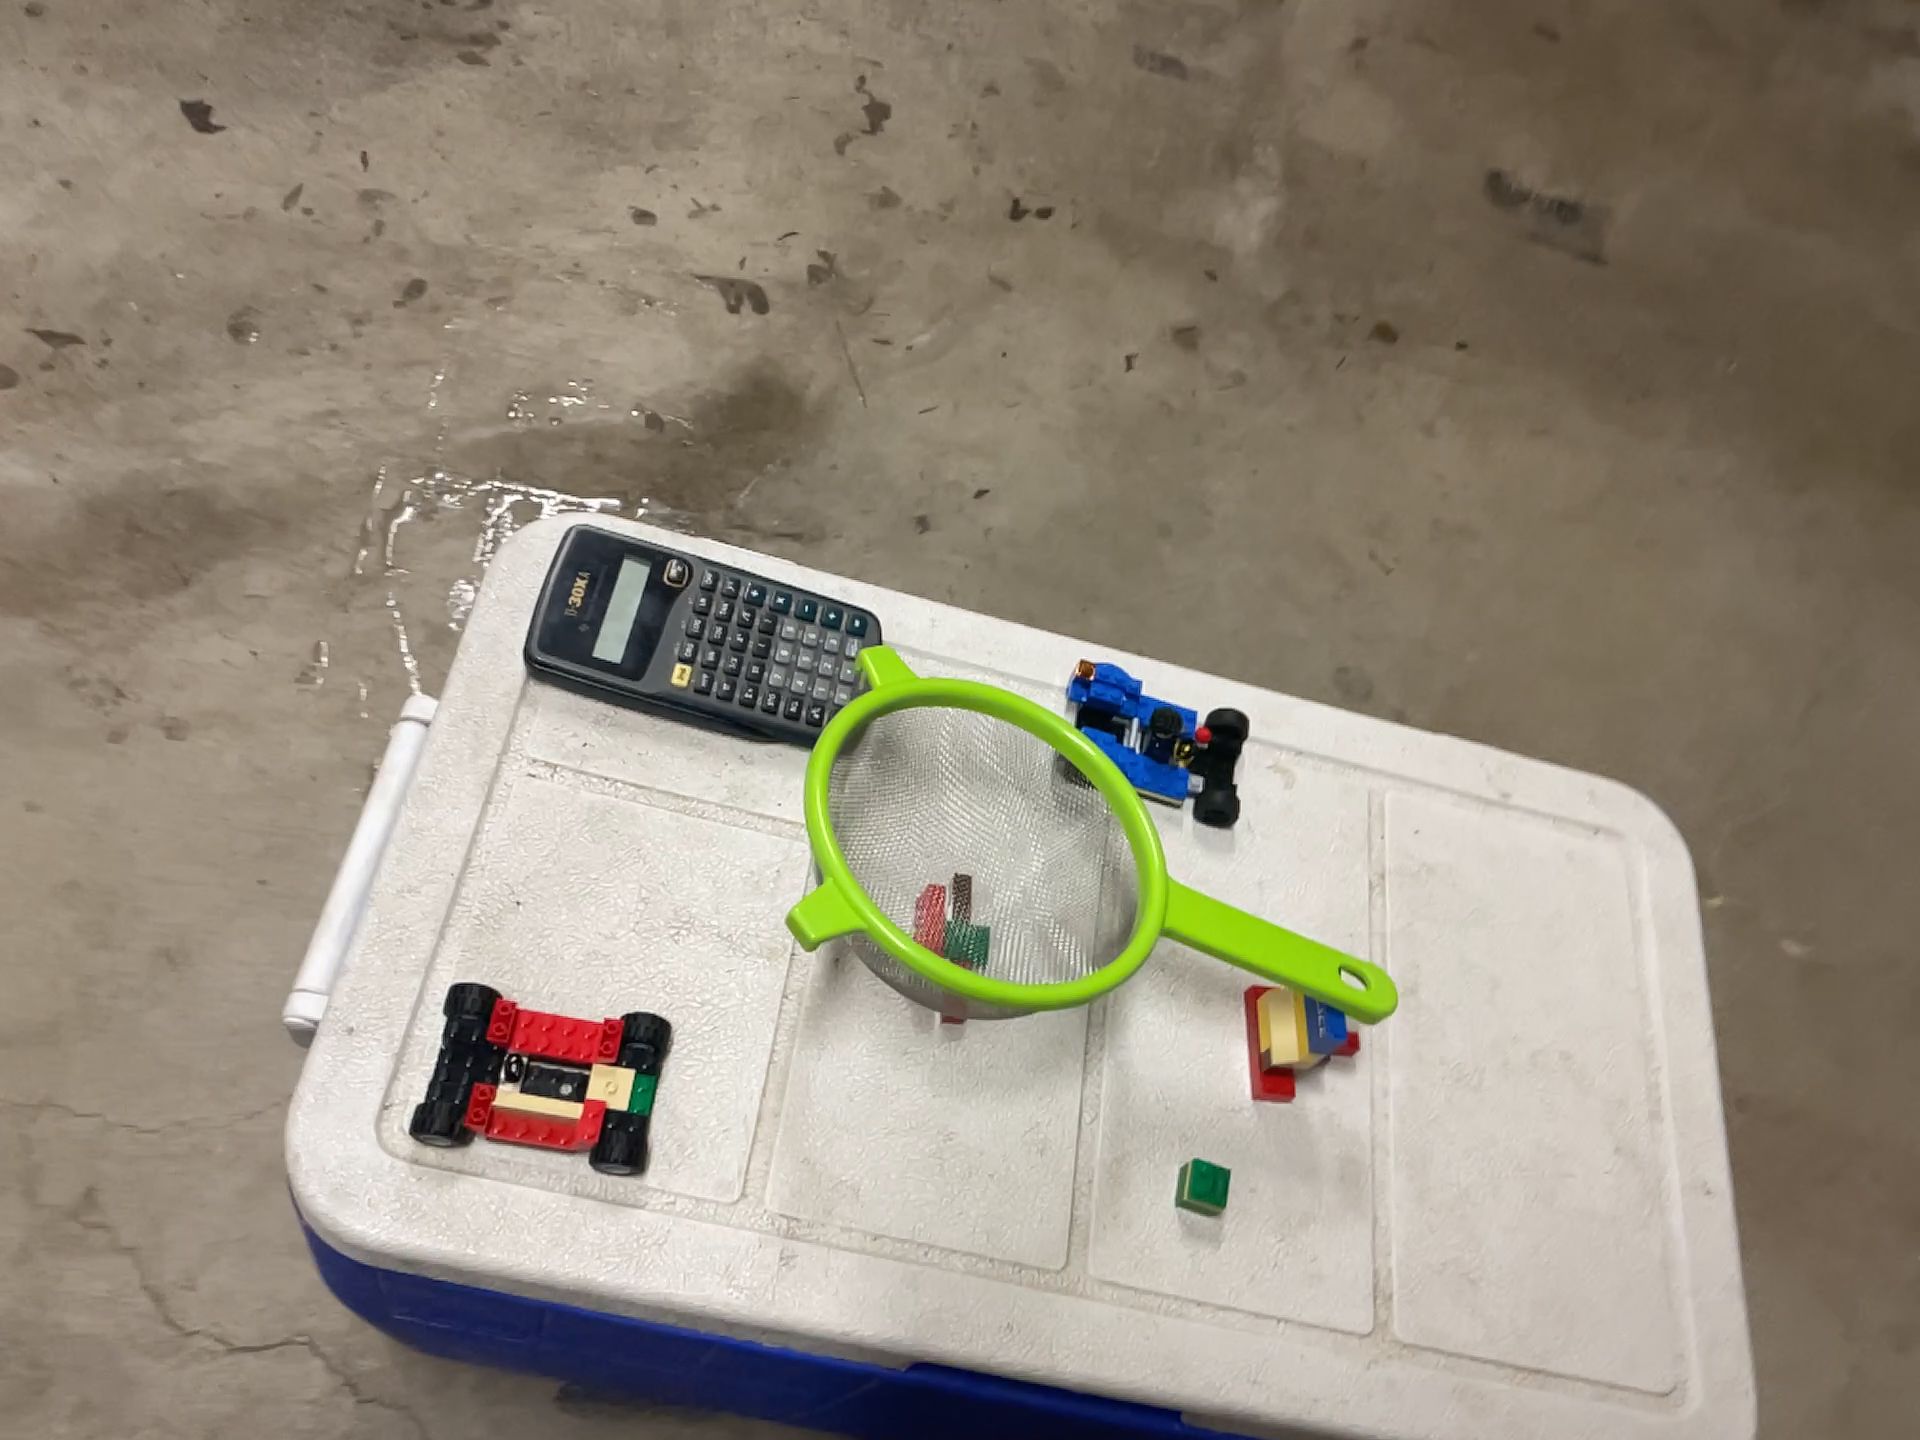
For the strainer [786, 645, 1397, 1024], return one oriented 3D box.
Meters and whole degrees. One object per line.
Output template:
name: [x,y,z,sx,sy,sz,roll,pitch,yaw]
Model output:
strainer: [0.049,0.080,0.640,0.256,0.069,0.152,23,43,-12]
